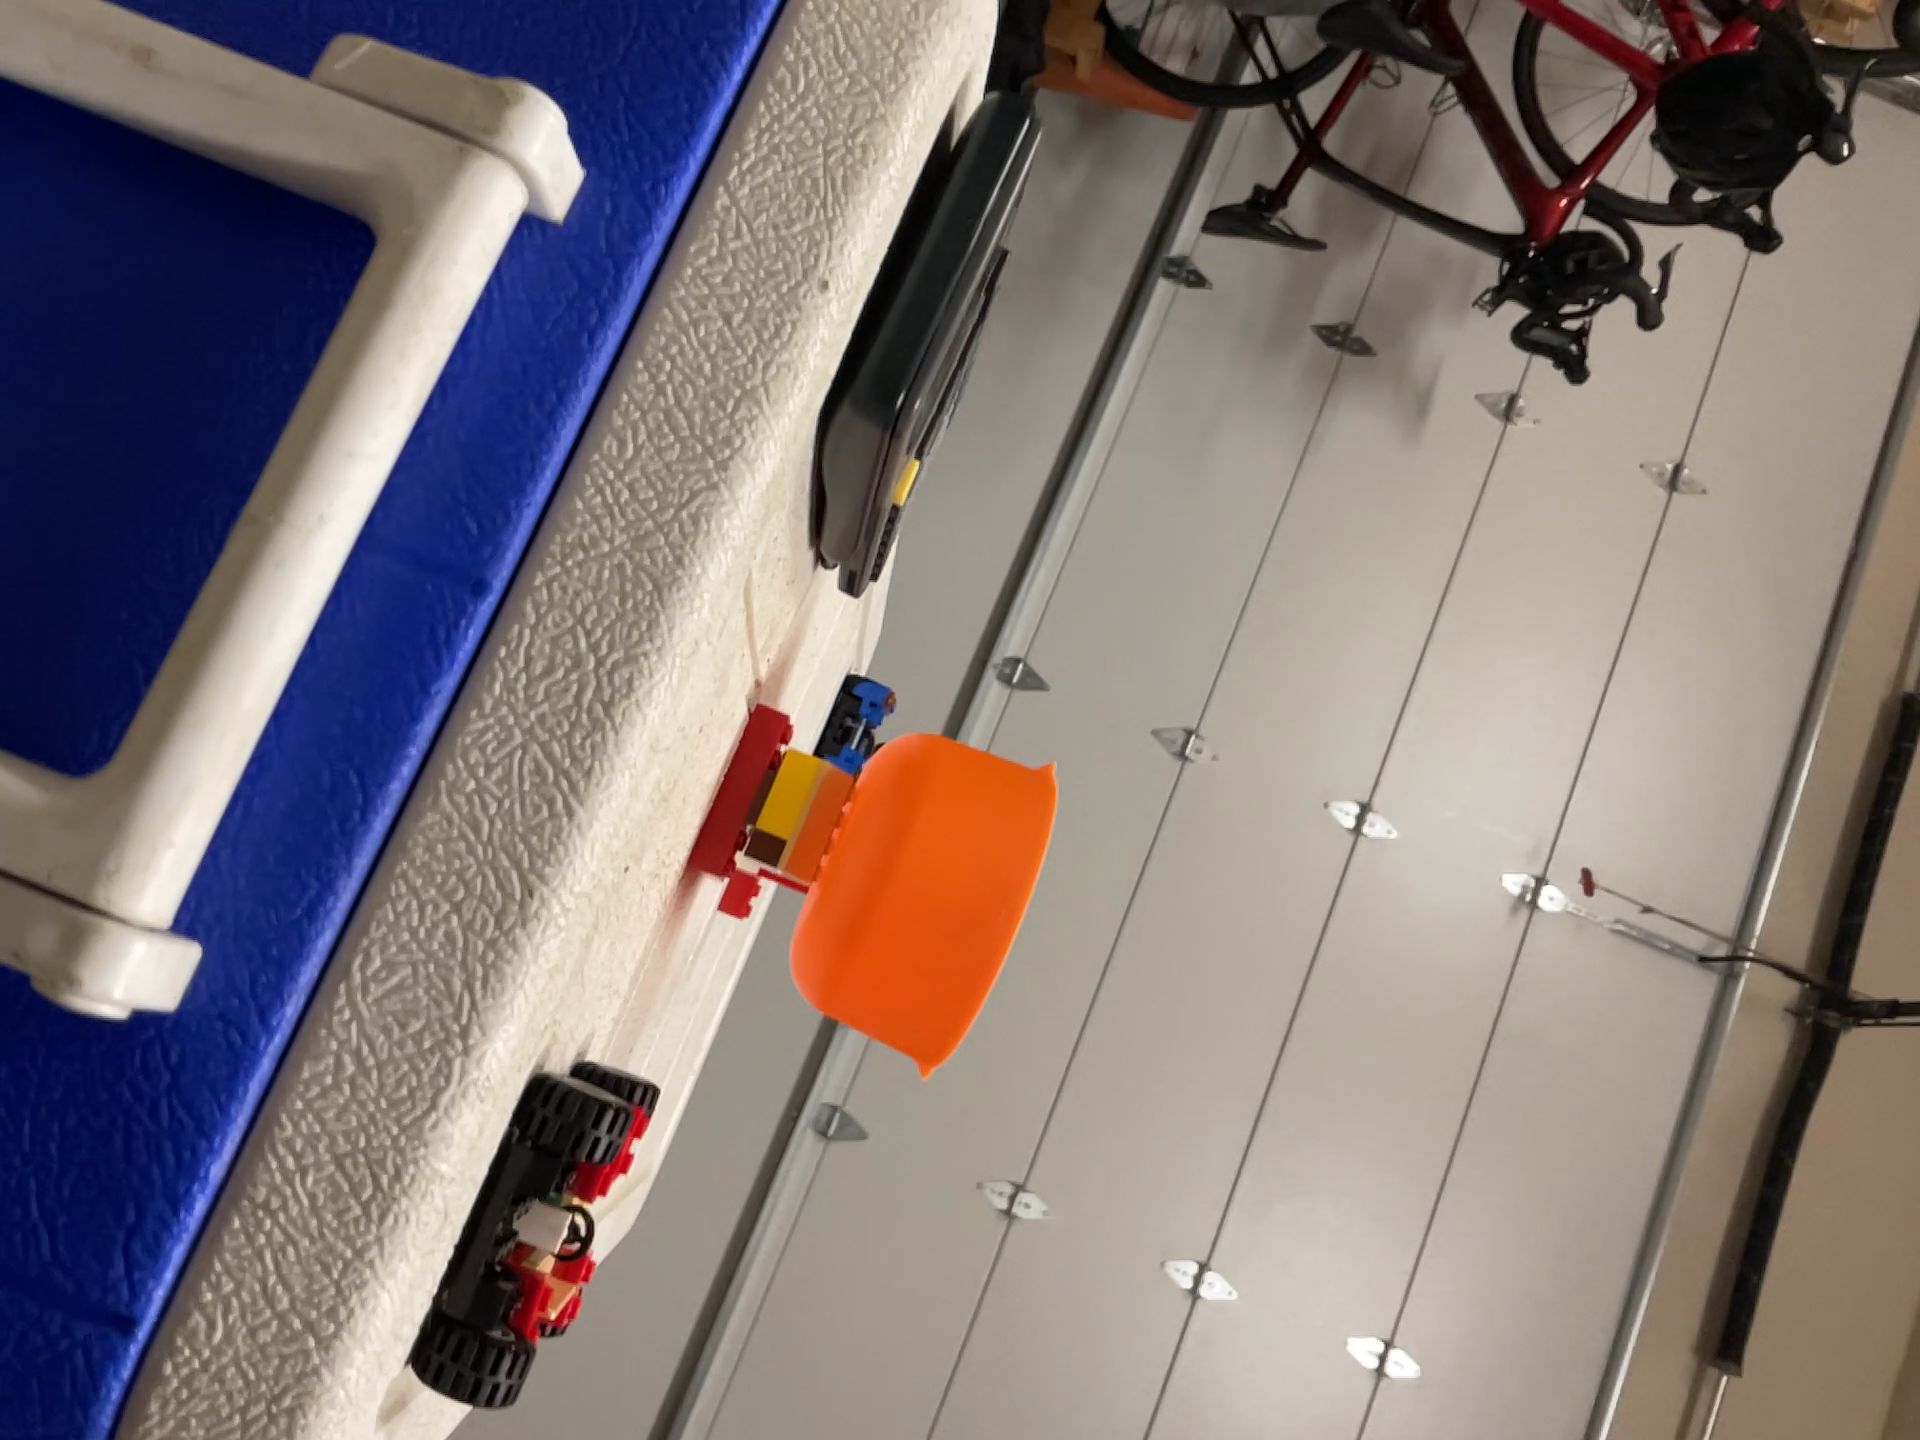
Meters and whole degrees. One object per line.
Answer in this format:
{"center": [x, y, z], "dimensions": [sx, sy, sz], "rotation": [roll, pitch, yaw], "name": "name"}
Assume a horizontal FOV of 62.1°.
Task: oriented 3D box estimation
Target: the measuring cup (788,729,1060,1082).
{"center": [-0.019, 0.049, 0.486], "dimensions": [0.173, 0.052, 0.095], "rotation": [154, -41, -80], "name": "measuring cup"}
